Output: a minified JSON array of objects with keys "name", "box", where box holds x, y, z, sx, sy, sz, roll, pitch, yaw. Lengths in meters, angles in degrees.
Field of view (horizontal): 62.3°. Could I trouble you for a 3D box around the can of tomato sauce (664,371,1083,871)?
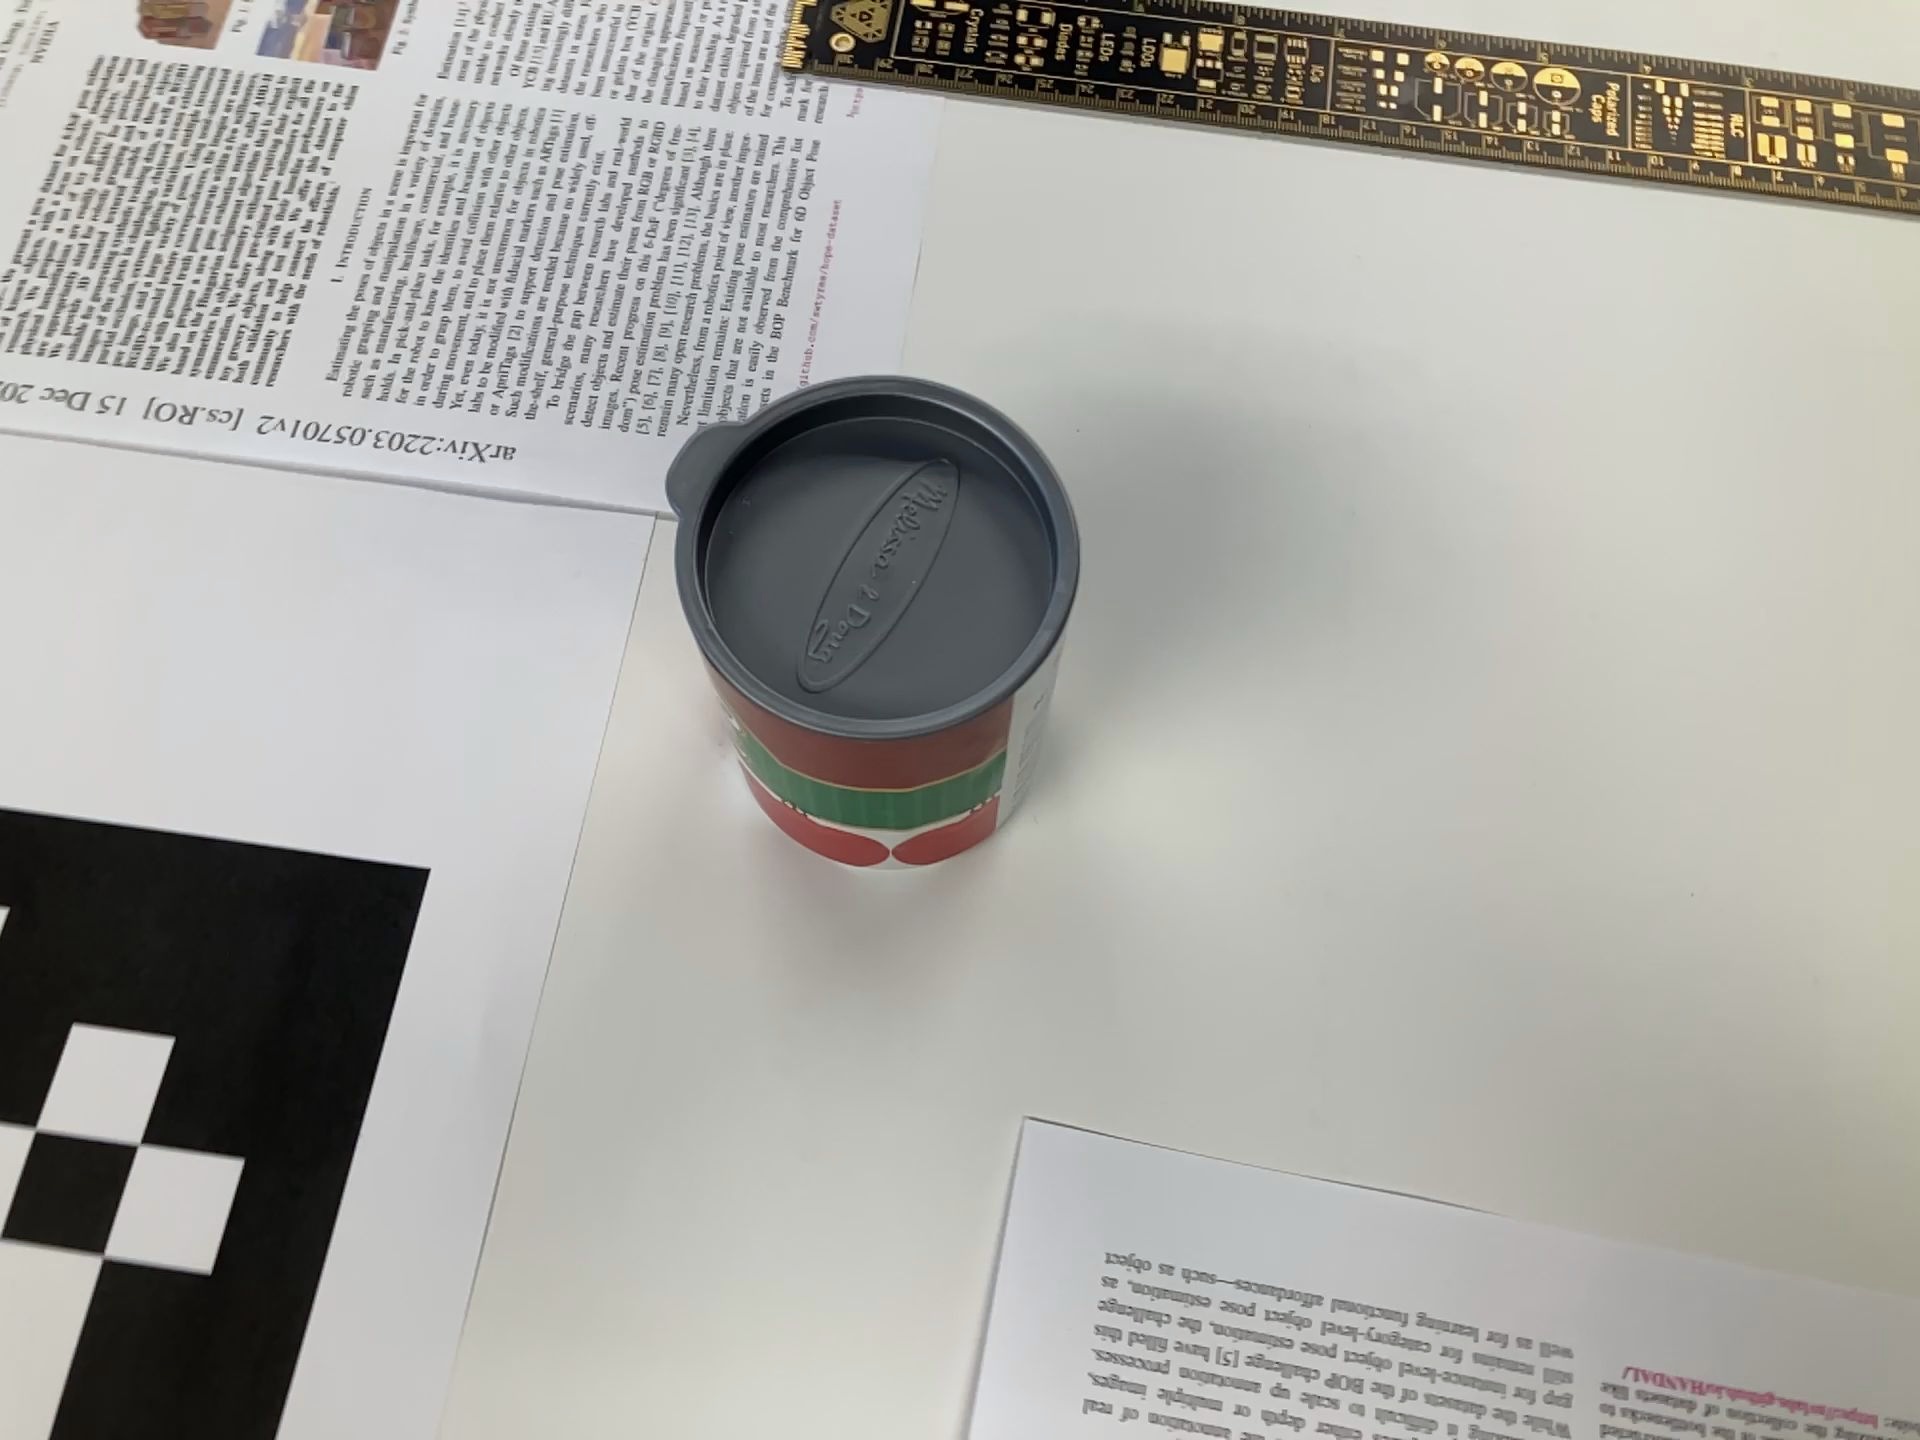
[{"name":"can of tomato sauce","box":[-0.016,-0.014,0.297,0.071,0.083,0.071,0,69,-1]}]
